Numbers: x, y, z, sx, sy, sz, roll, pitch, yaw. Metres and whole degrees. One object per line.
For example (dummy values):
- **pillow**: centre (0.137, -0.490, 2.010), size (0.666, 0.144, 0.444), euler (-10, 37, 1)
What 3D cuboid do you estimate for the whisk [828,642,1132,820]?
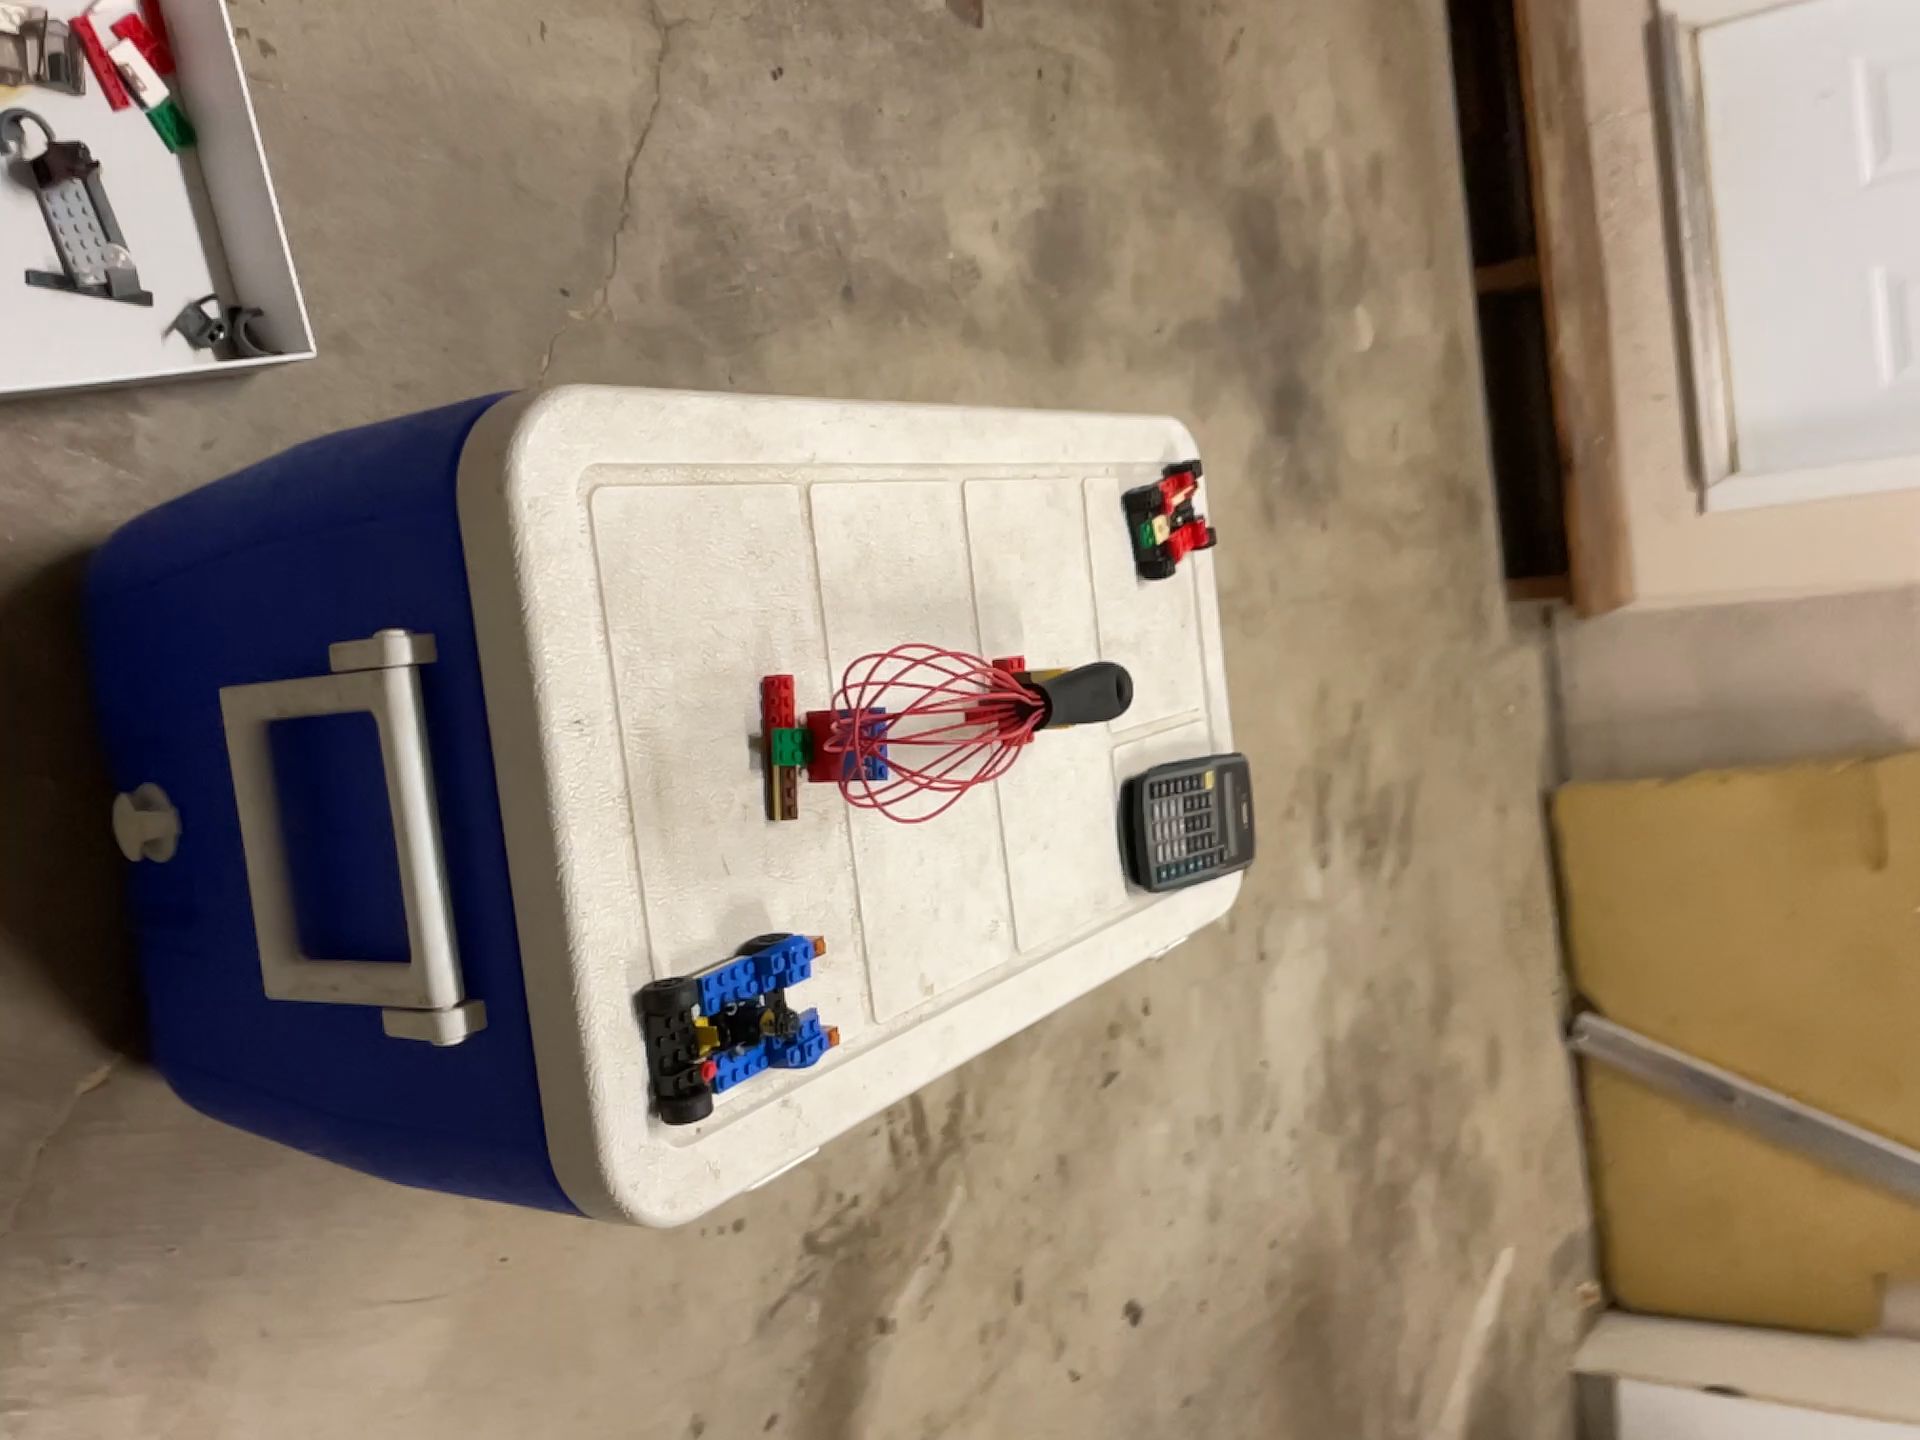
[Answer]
- **whisk**: centre (0.024, -0.005, 0.731), size (0.296, 0.073, 0.073), euler (-12, 94, -64)
